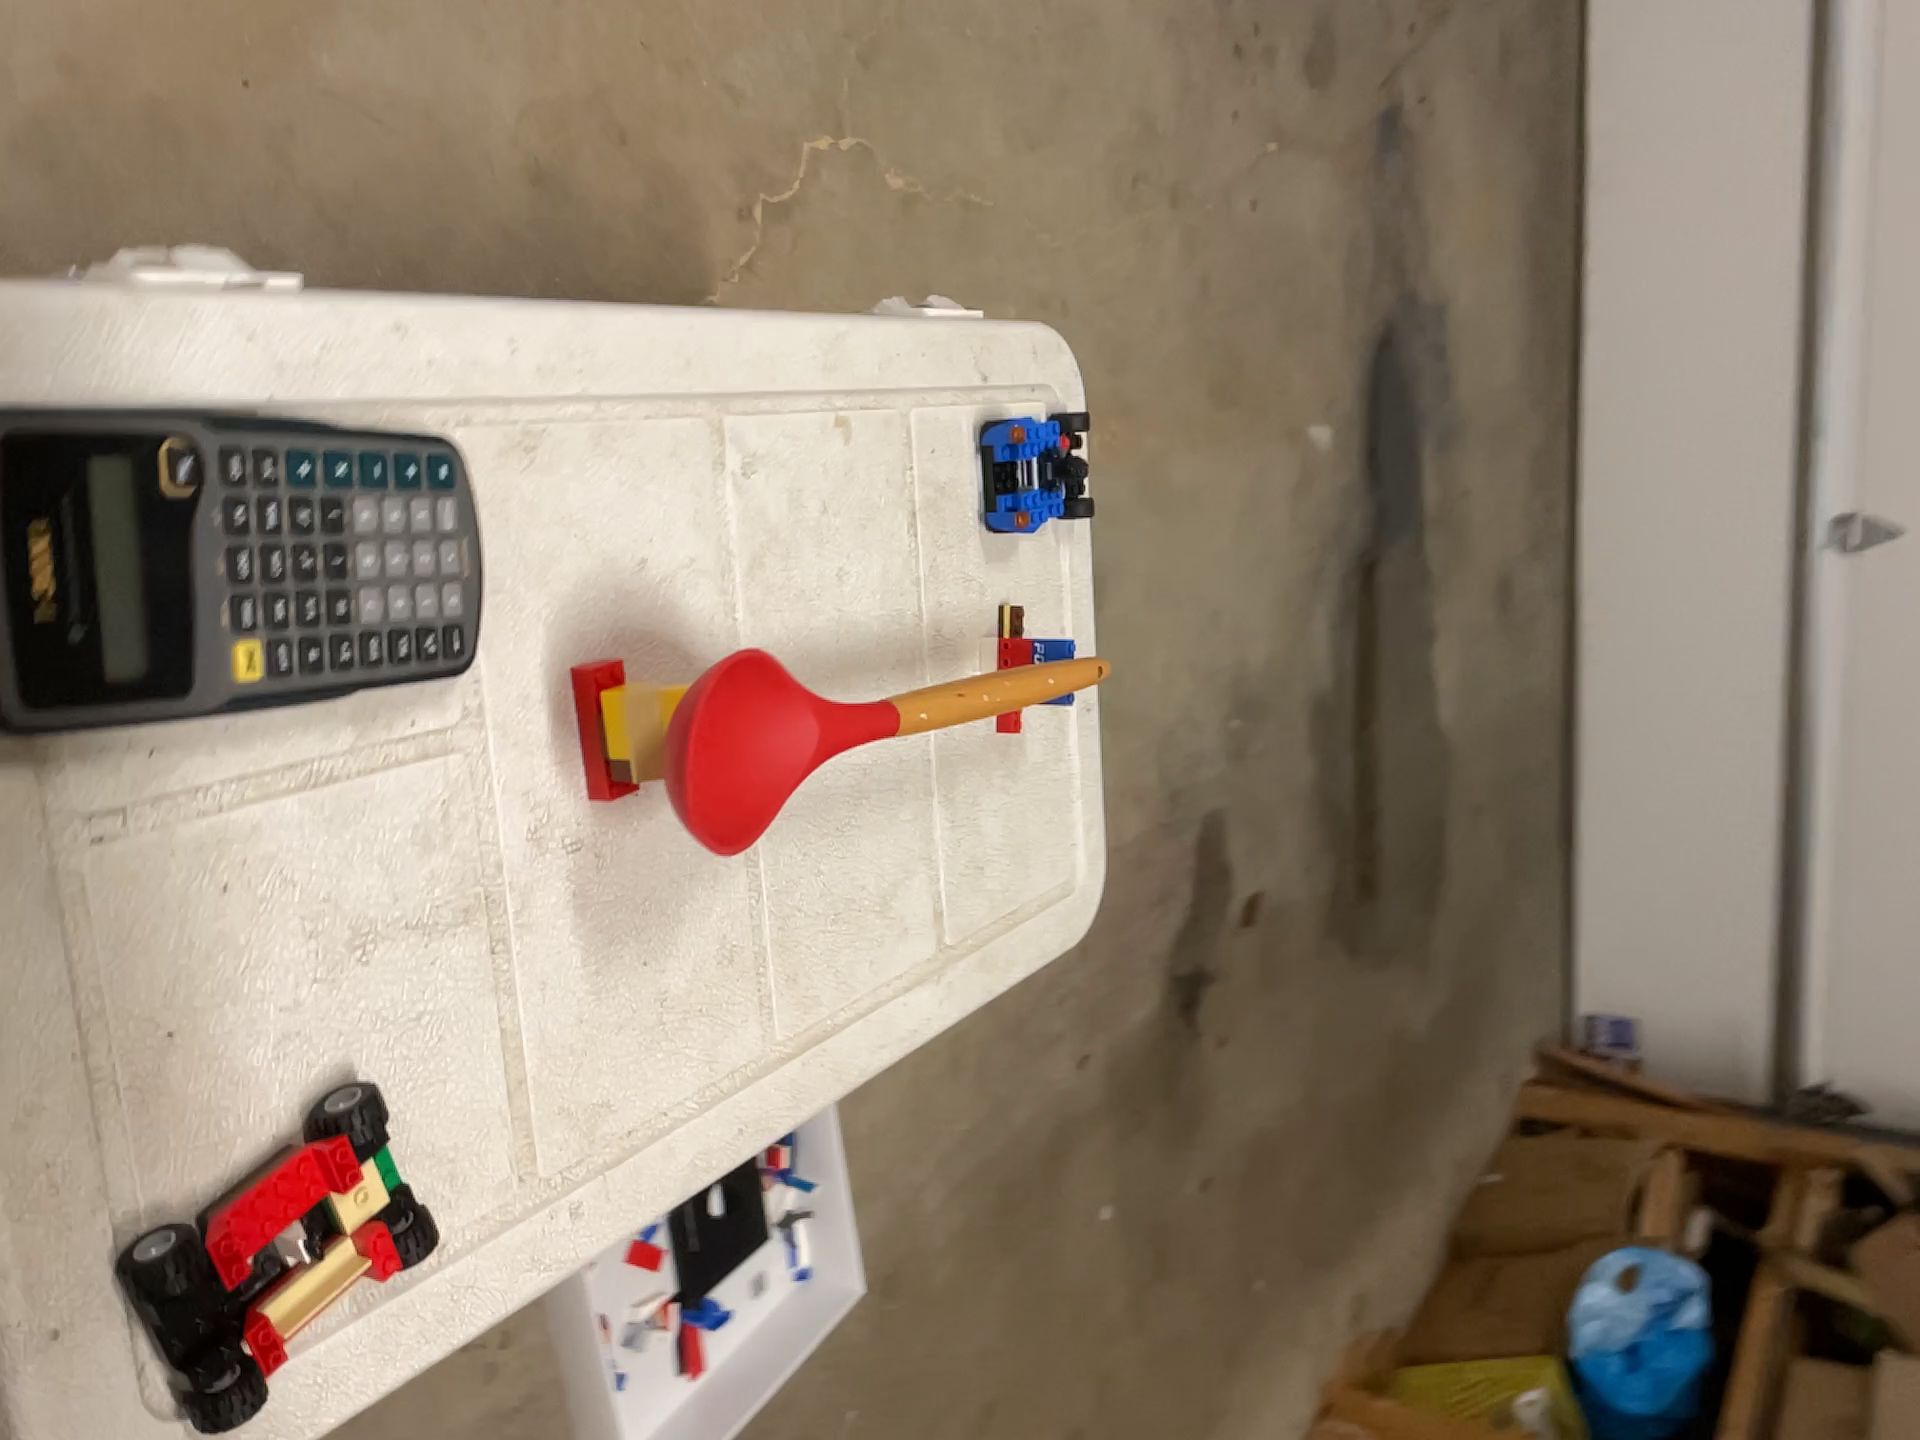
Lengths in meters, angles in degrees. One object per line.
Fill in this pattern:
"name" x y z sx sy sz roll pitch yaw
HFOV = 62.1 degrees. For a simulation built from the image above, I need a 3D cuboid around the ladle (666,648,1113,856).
"ladle" -0.014 -0.005 0.633 0.315 0.031 0.069 -13 109 -57
